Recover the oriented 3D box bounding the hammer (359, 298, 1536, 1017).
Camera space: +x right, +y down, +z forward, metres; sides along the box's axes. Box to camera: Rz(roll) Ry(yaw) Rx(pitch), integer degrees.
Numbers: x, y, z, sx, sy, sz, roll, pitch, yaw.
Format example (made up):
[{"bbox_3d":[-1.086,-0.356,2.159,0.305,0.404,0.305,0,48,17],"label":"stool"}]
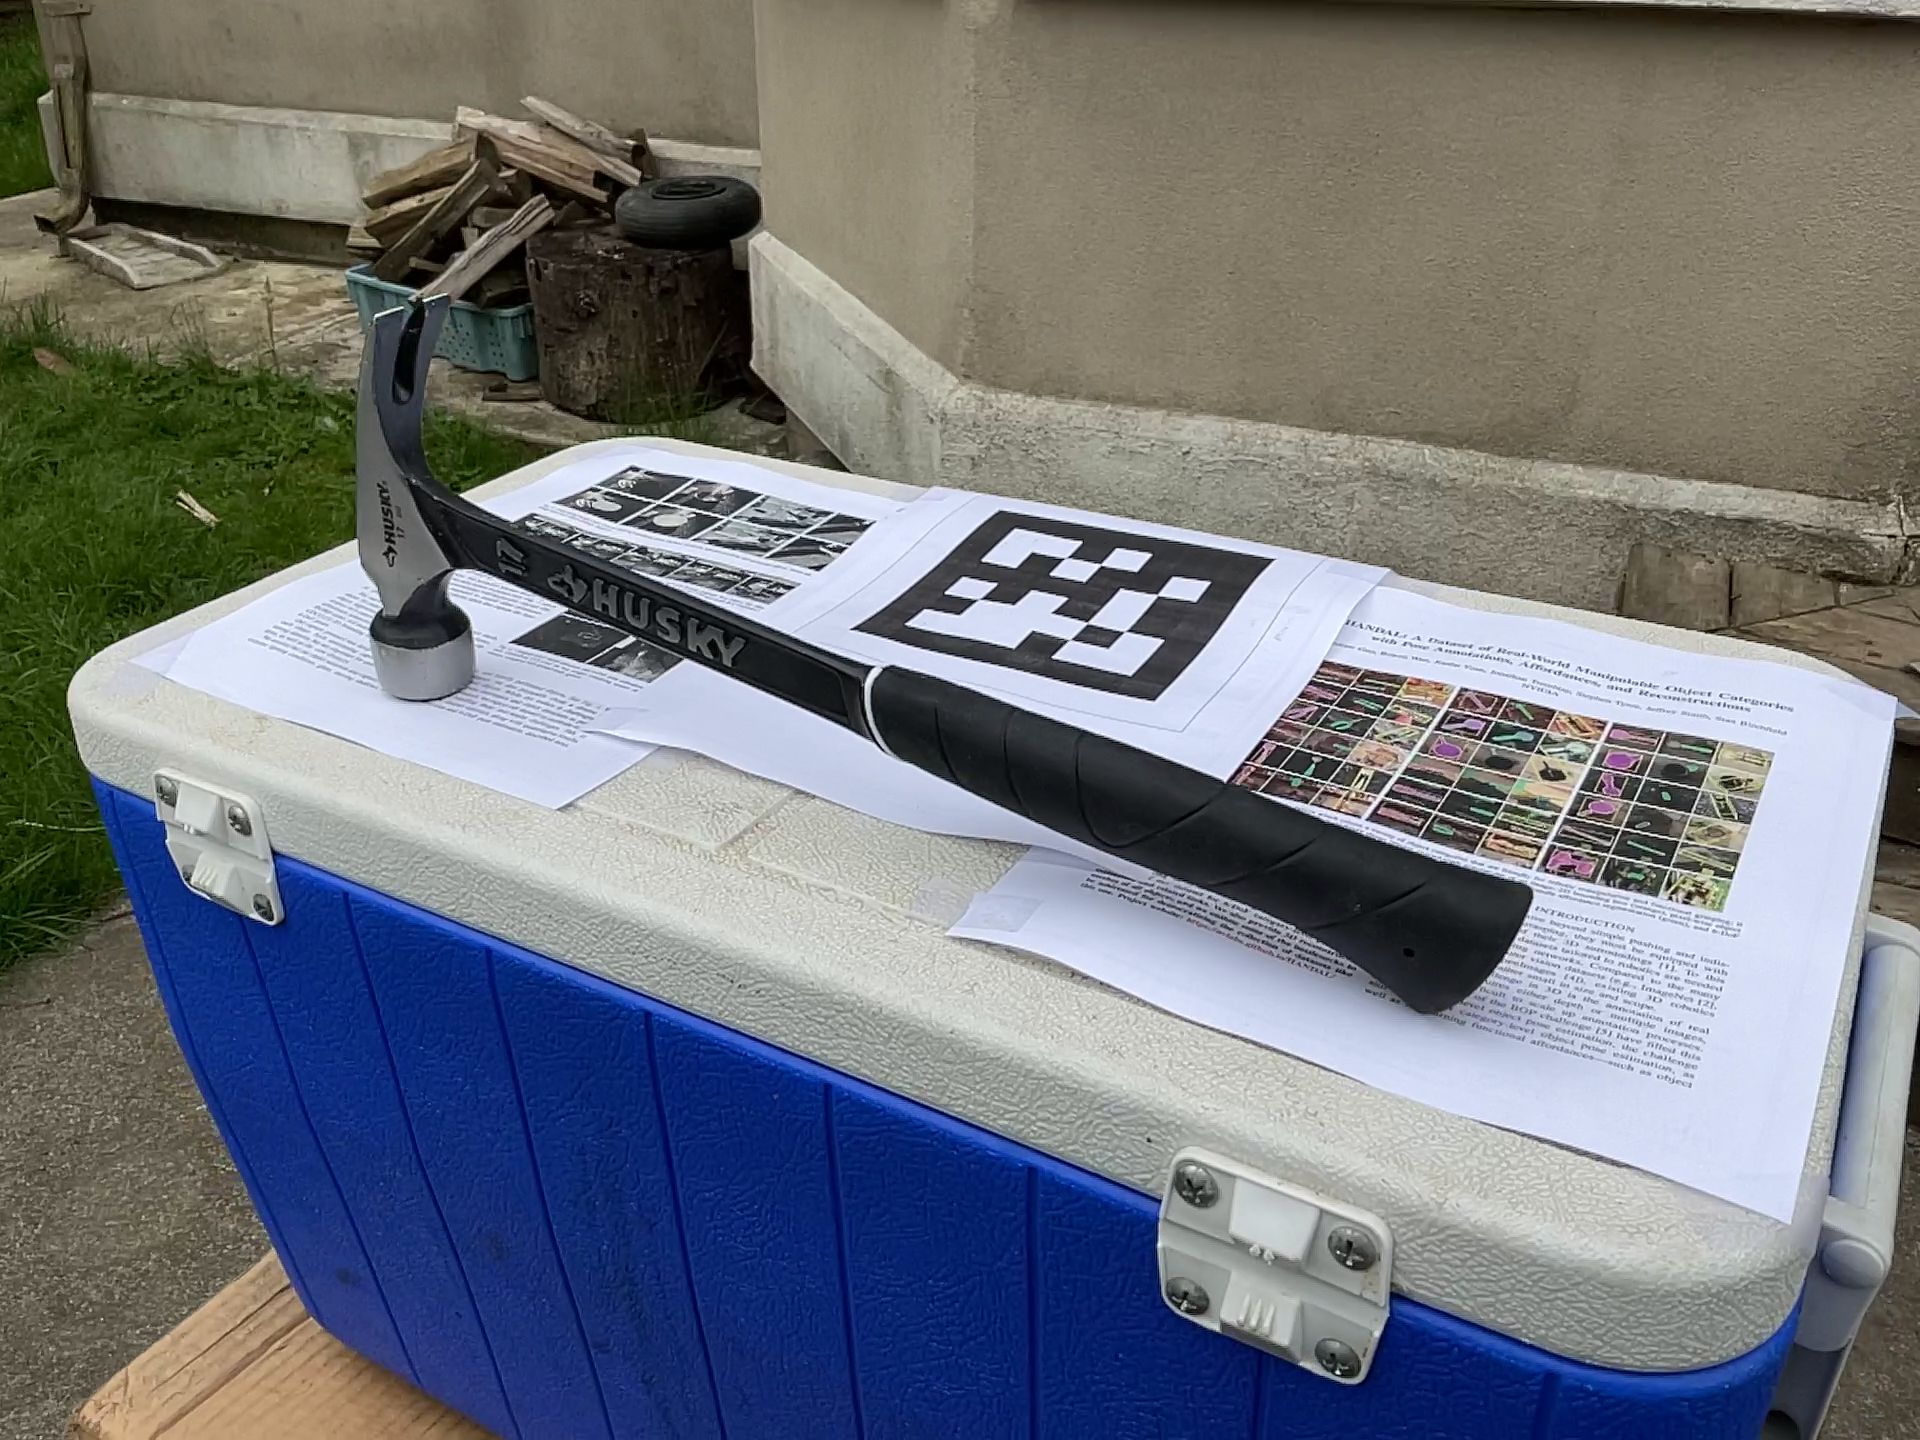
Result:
[{"bbox_3d":[-0.034,-0.013,0.481,0.409,0.149,0.036,21,36,24],"label":"hammer"}]
